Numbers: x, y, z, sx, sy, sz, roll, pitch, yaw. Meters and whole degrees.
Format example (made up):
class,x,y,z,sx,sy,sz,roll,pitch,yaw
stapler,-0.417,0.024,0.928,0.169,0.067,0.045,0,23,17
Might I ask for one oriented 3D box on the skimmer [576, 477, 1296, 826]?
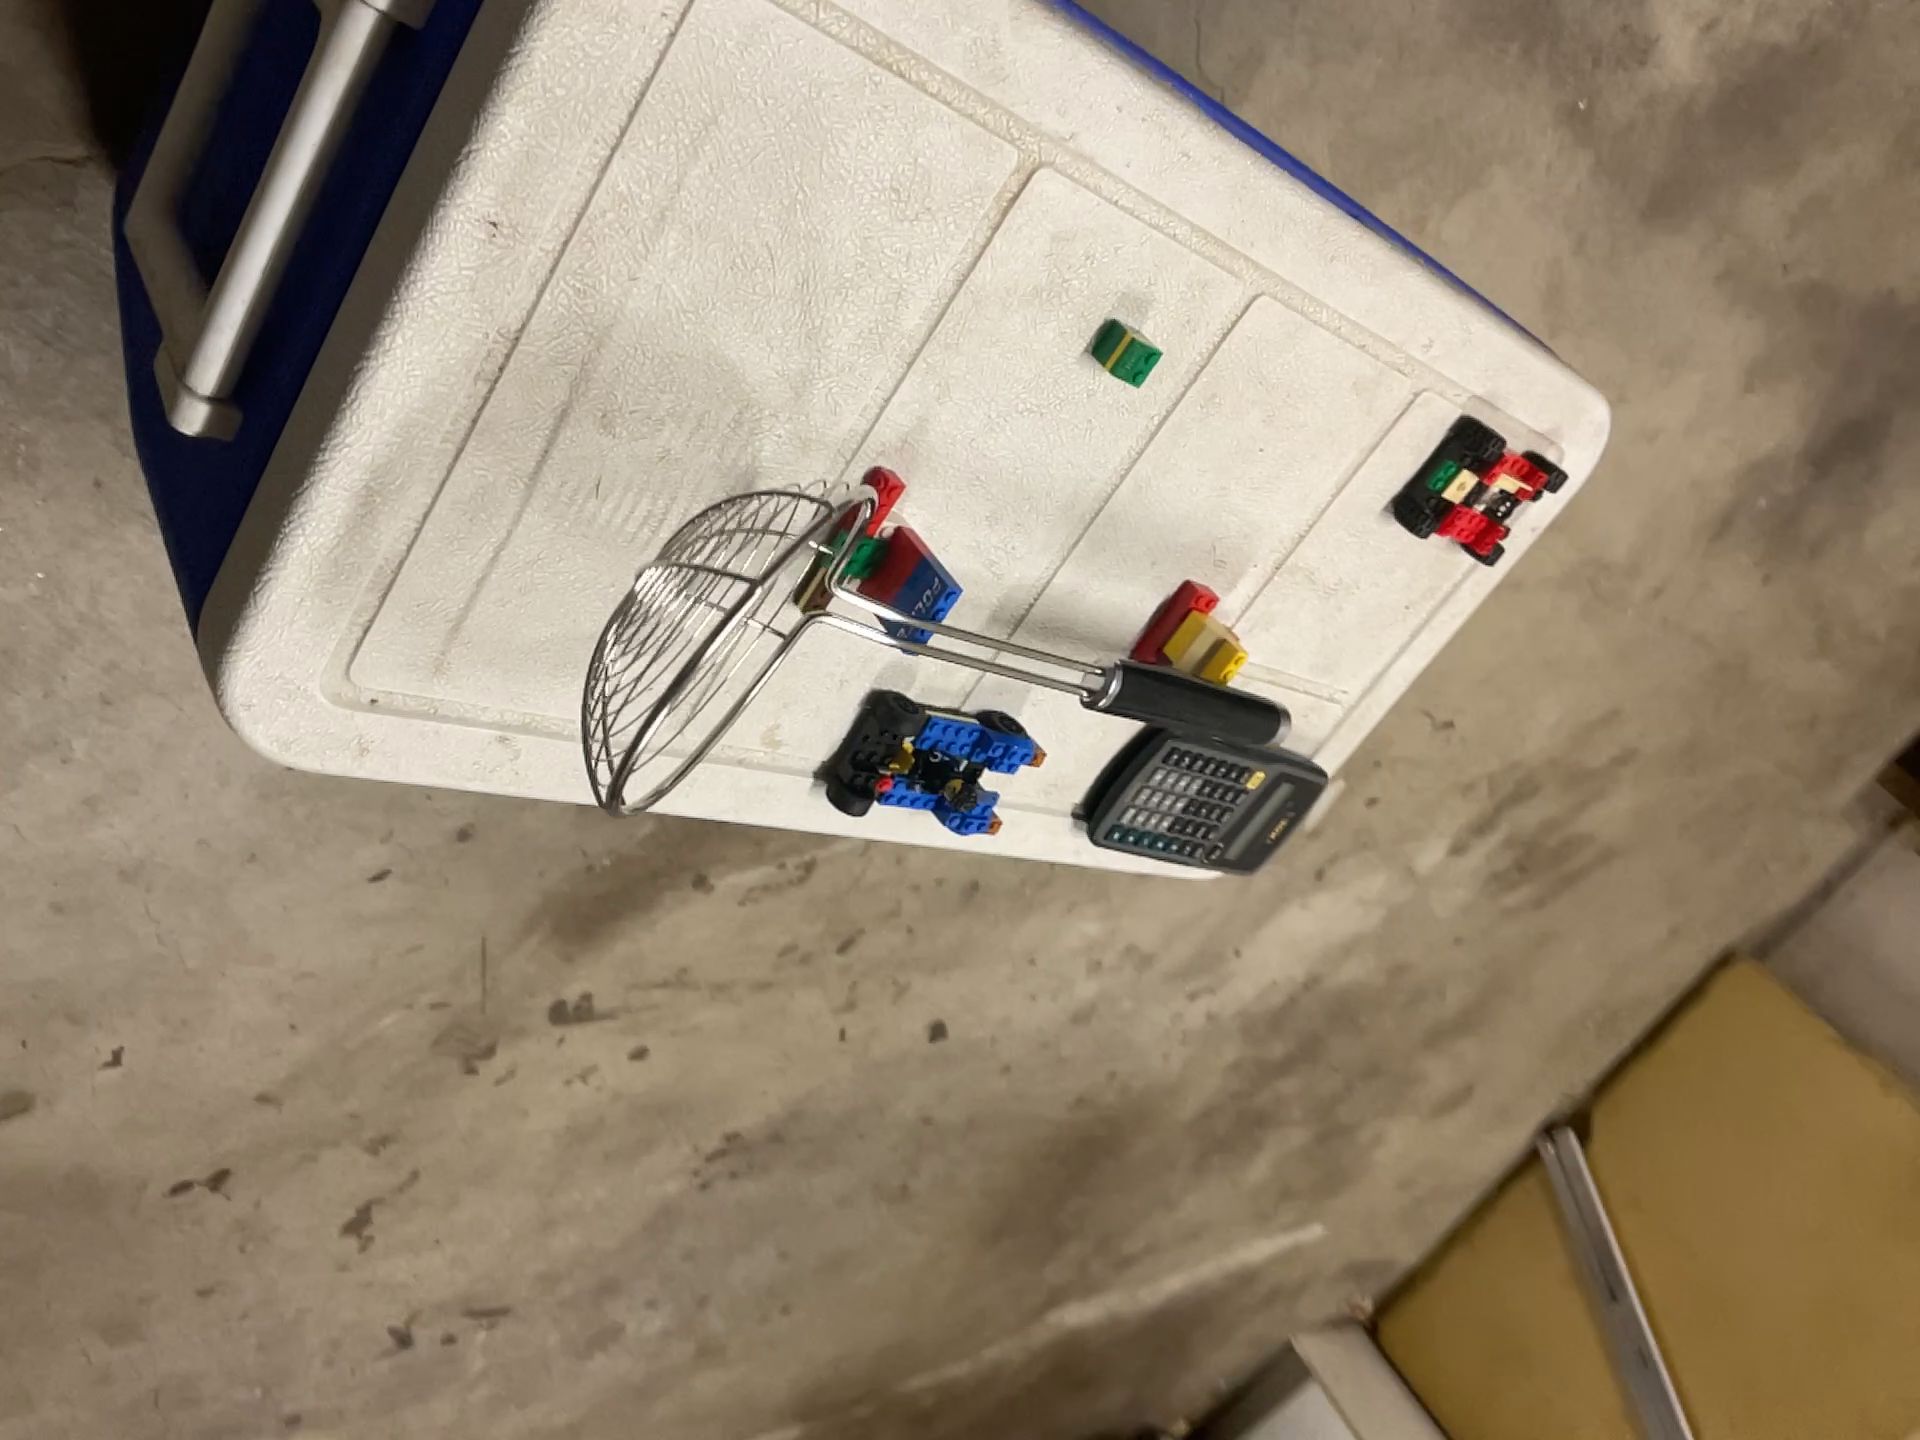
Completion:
class,x,y,z,sx,sy,sz,roll,pitch,yaw
skimmer,0.026,-0.003,0.570,0.362,0.090,0.127,11,125,-44
